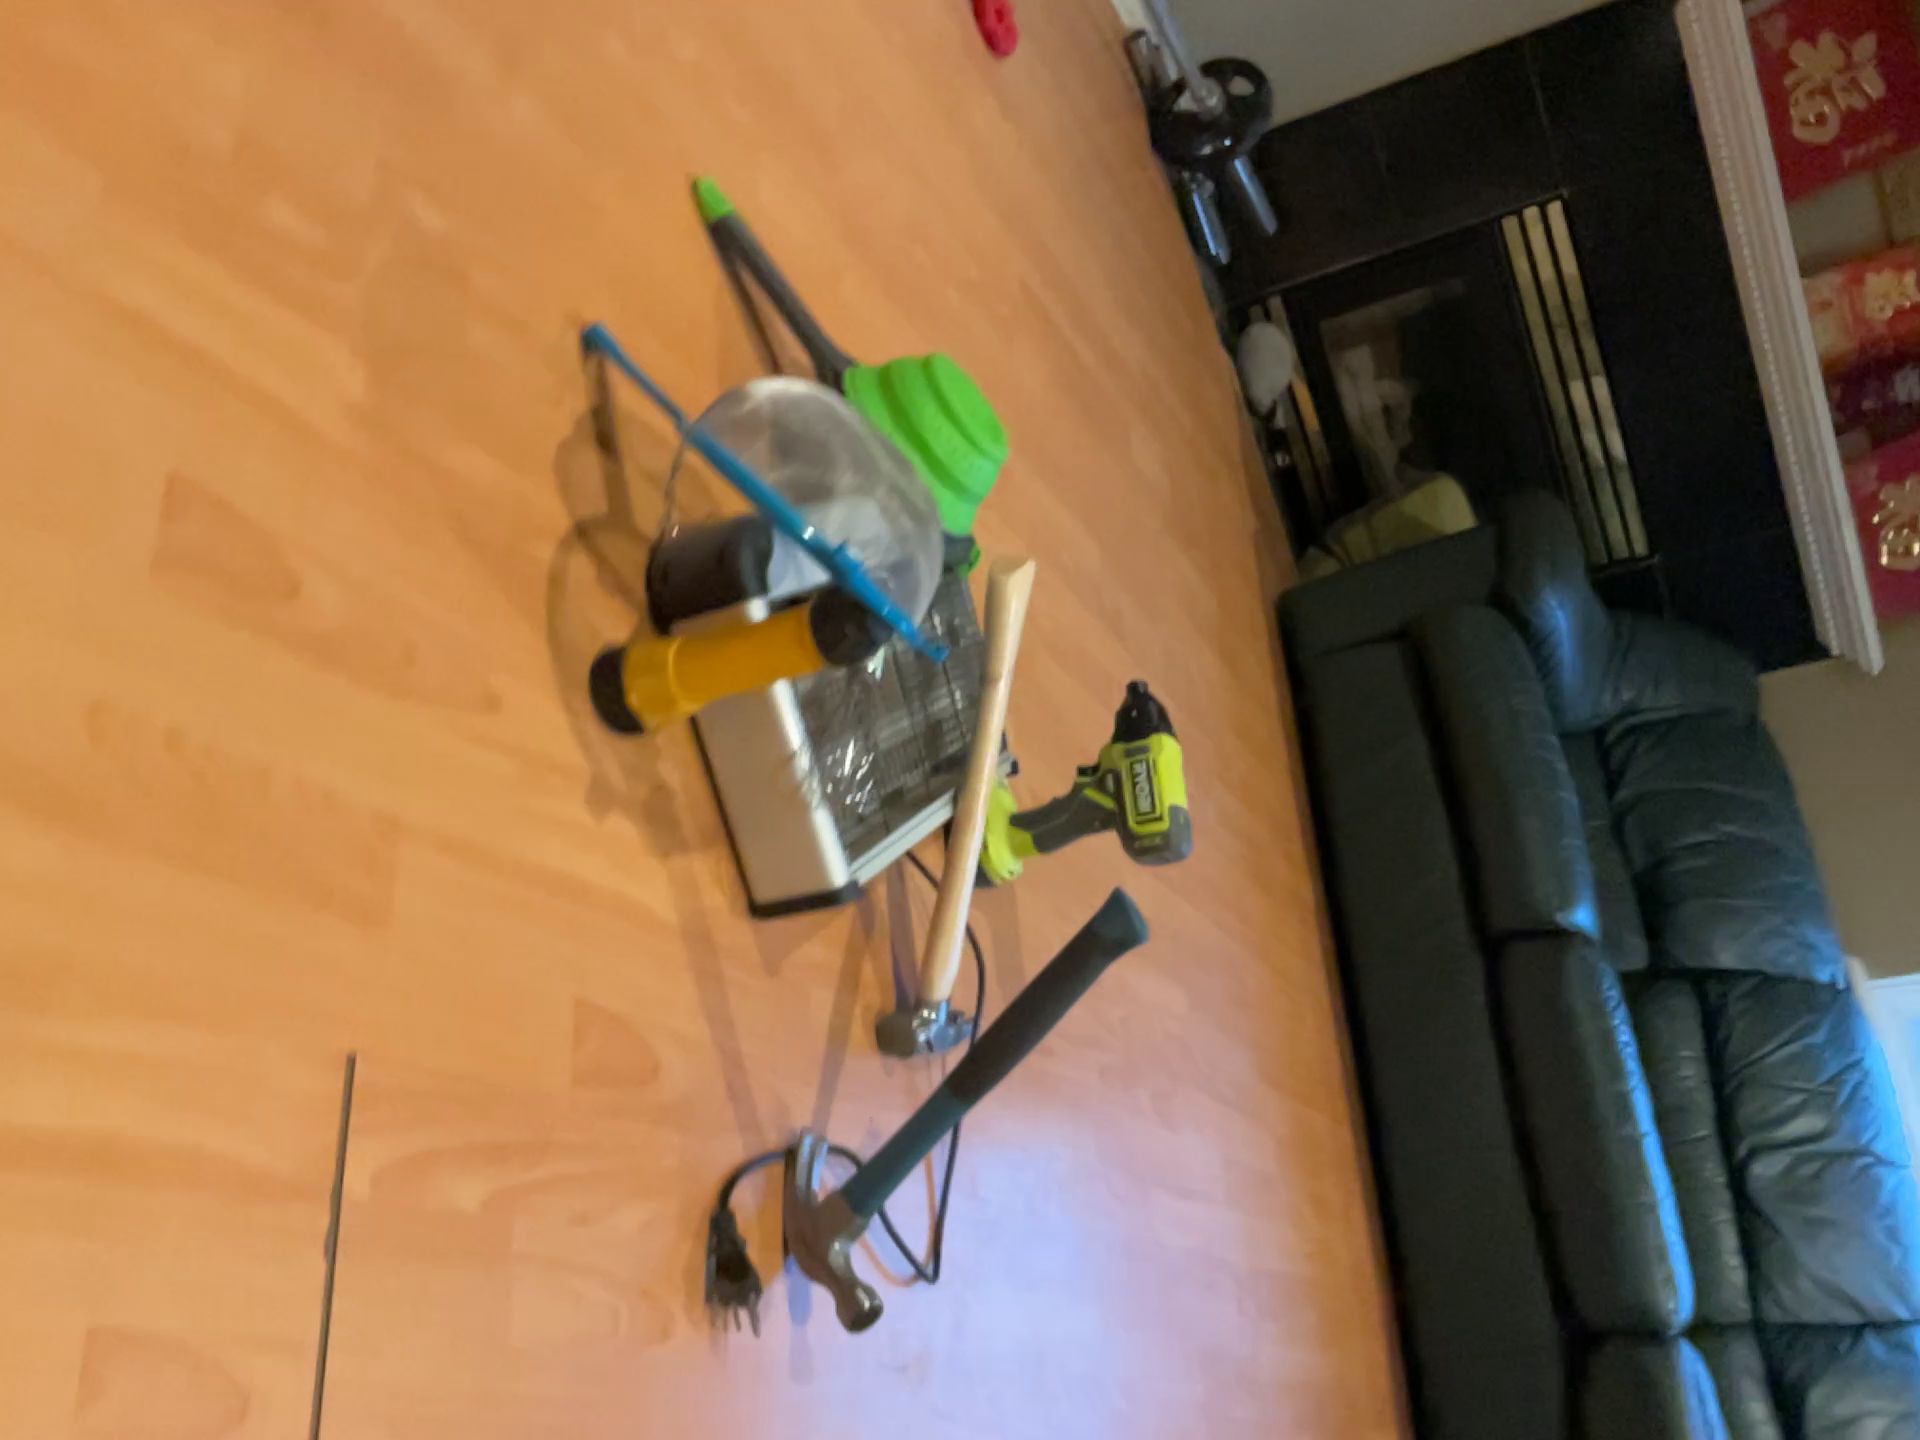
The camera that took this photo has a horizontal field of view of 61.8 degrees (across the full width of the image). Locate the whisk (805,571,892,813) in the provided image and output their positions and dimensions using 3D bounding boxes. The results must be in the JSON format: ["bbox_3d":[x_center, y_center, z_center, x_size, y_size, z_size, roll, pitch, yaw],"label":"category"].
[{"bbox_3d":[-0.072,-0.027,1.163,0.058,0.059,0.246,29,40,-21],"label":"whisk"}]

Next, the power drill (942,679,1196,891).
[{"bbox_3d":[0.098,0.064,1.477,0.080,0.223,0.171,33,47,-59],"label":"power drill"}]

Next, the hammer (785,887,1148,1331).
[{"bbox_3d":[0.008,0.247,1.090,0.128,0.331,0.033,42,-2,40],"label":"hammer"}]

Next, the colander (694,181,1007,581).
[{"bbox_3d":[-0.074,-0.307,1.356,0.397,0.094,0.205,53,20,-9],"label":"colander"}]

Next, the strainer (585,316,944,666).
[{"bbox_3d":[-0.121,-0.190,1.065,0.340,0.095,0.211,45,0,22],"label":"strainer"}]

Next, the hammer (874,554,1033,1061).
[{"bbox_3d":[0.012,0.070,1.320,0.146,0.038,0.410,6,95,-65],"label":"hammer"}]
